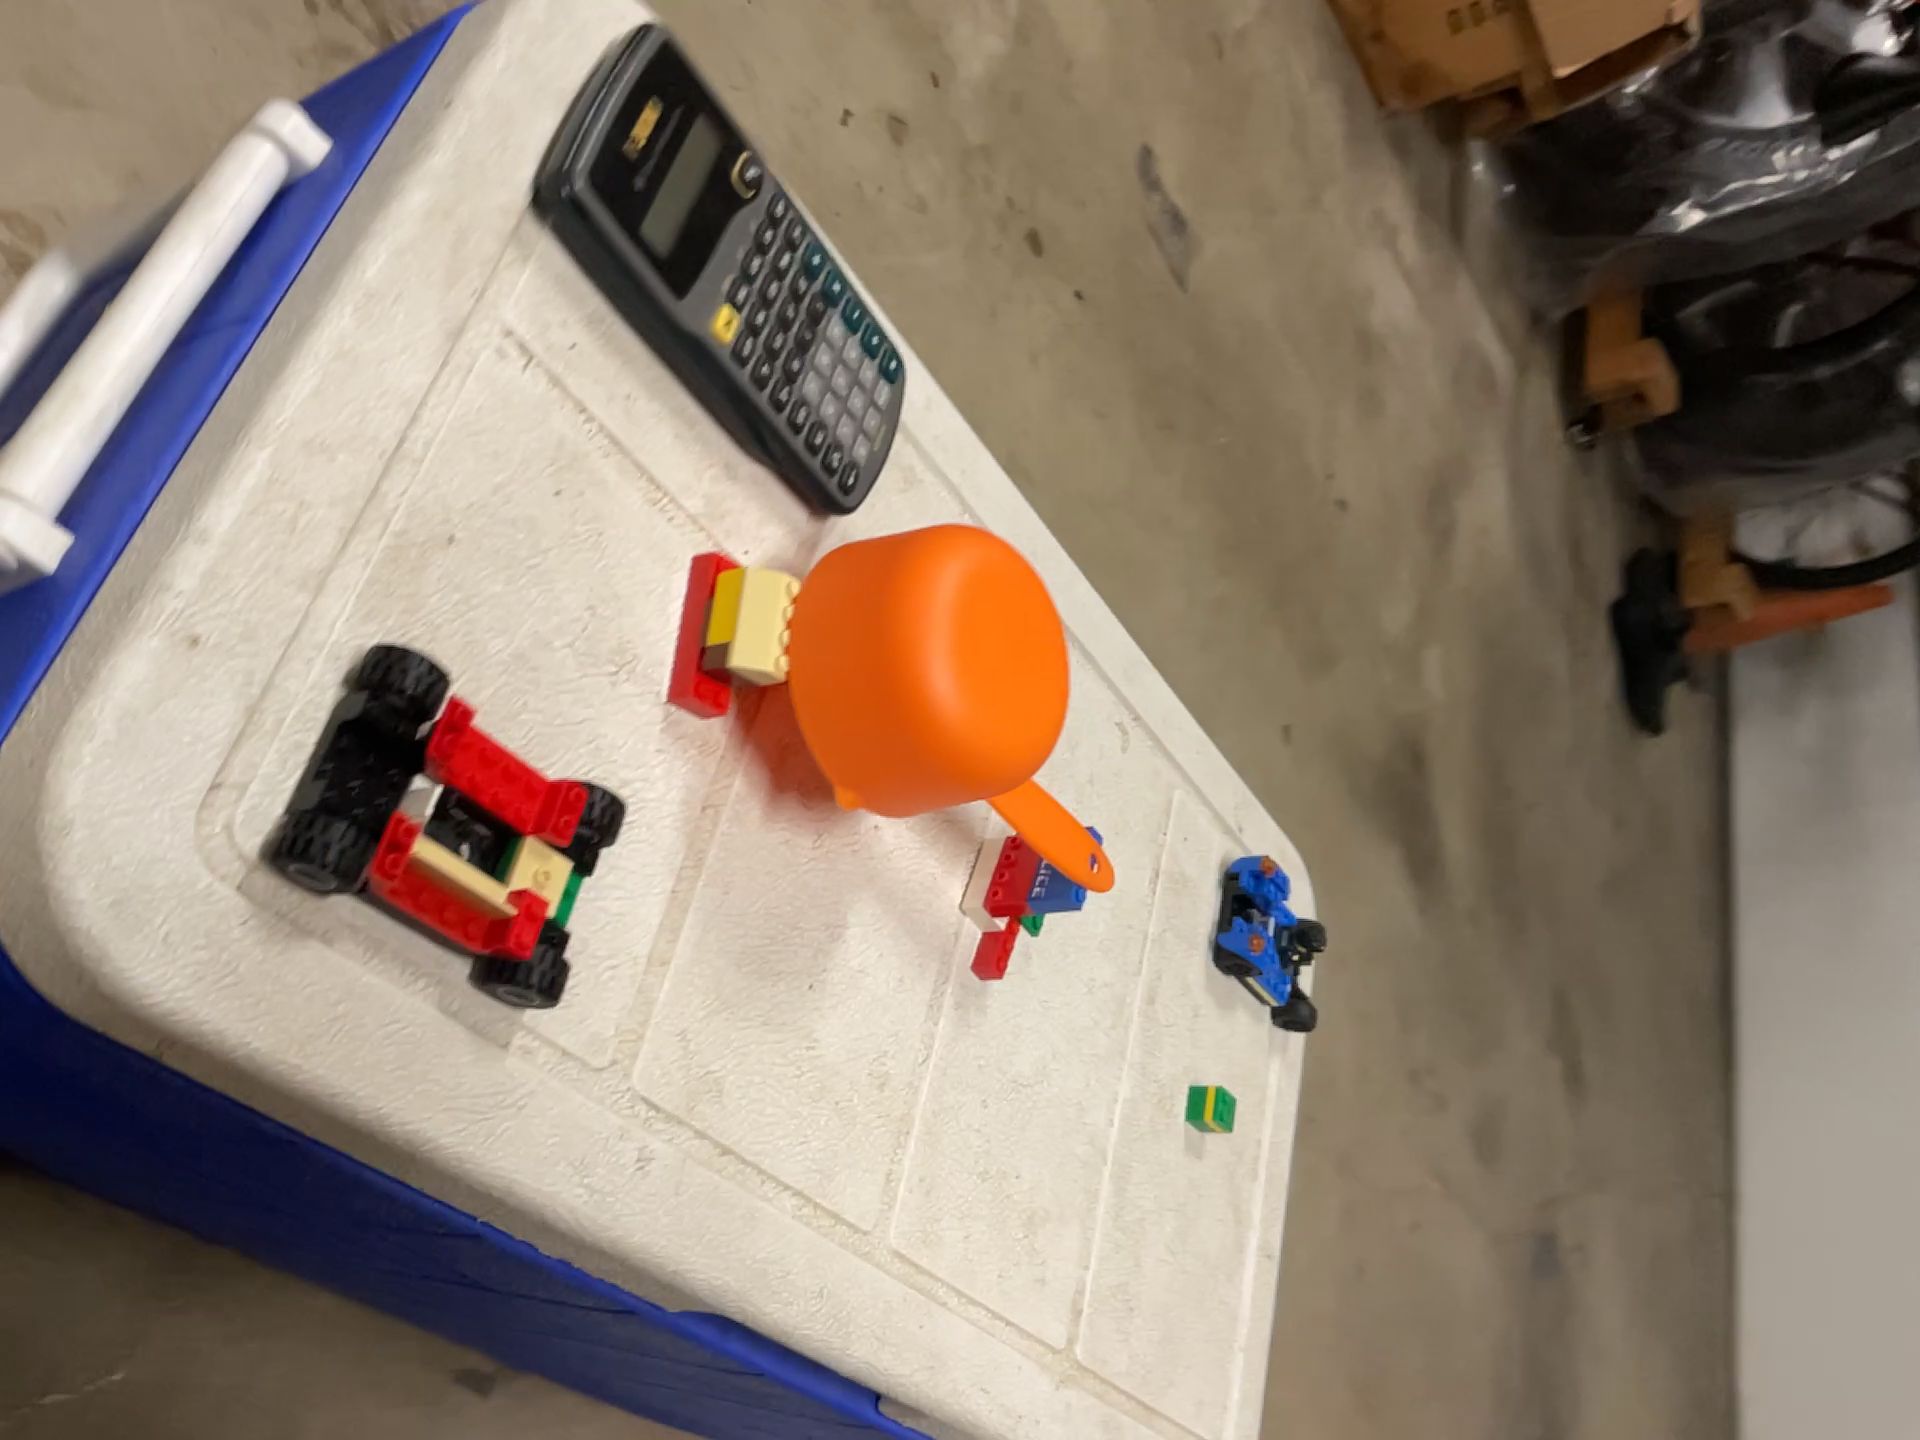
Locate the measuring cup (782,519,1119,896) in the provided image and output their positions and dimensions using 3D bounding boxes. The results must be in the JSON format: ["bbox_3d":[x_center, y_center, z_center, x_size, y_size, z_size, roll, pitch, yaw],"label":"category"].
[{"bbox_3d":[0.020,0.007,0.504,0.173,0.052,0.095,43,50,-35],"label":"measuring cup"}]
